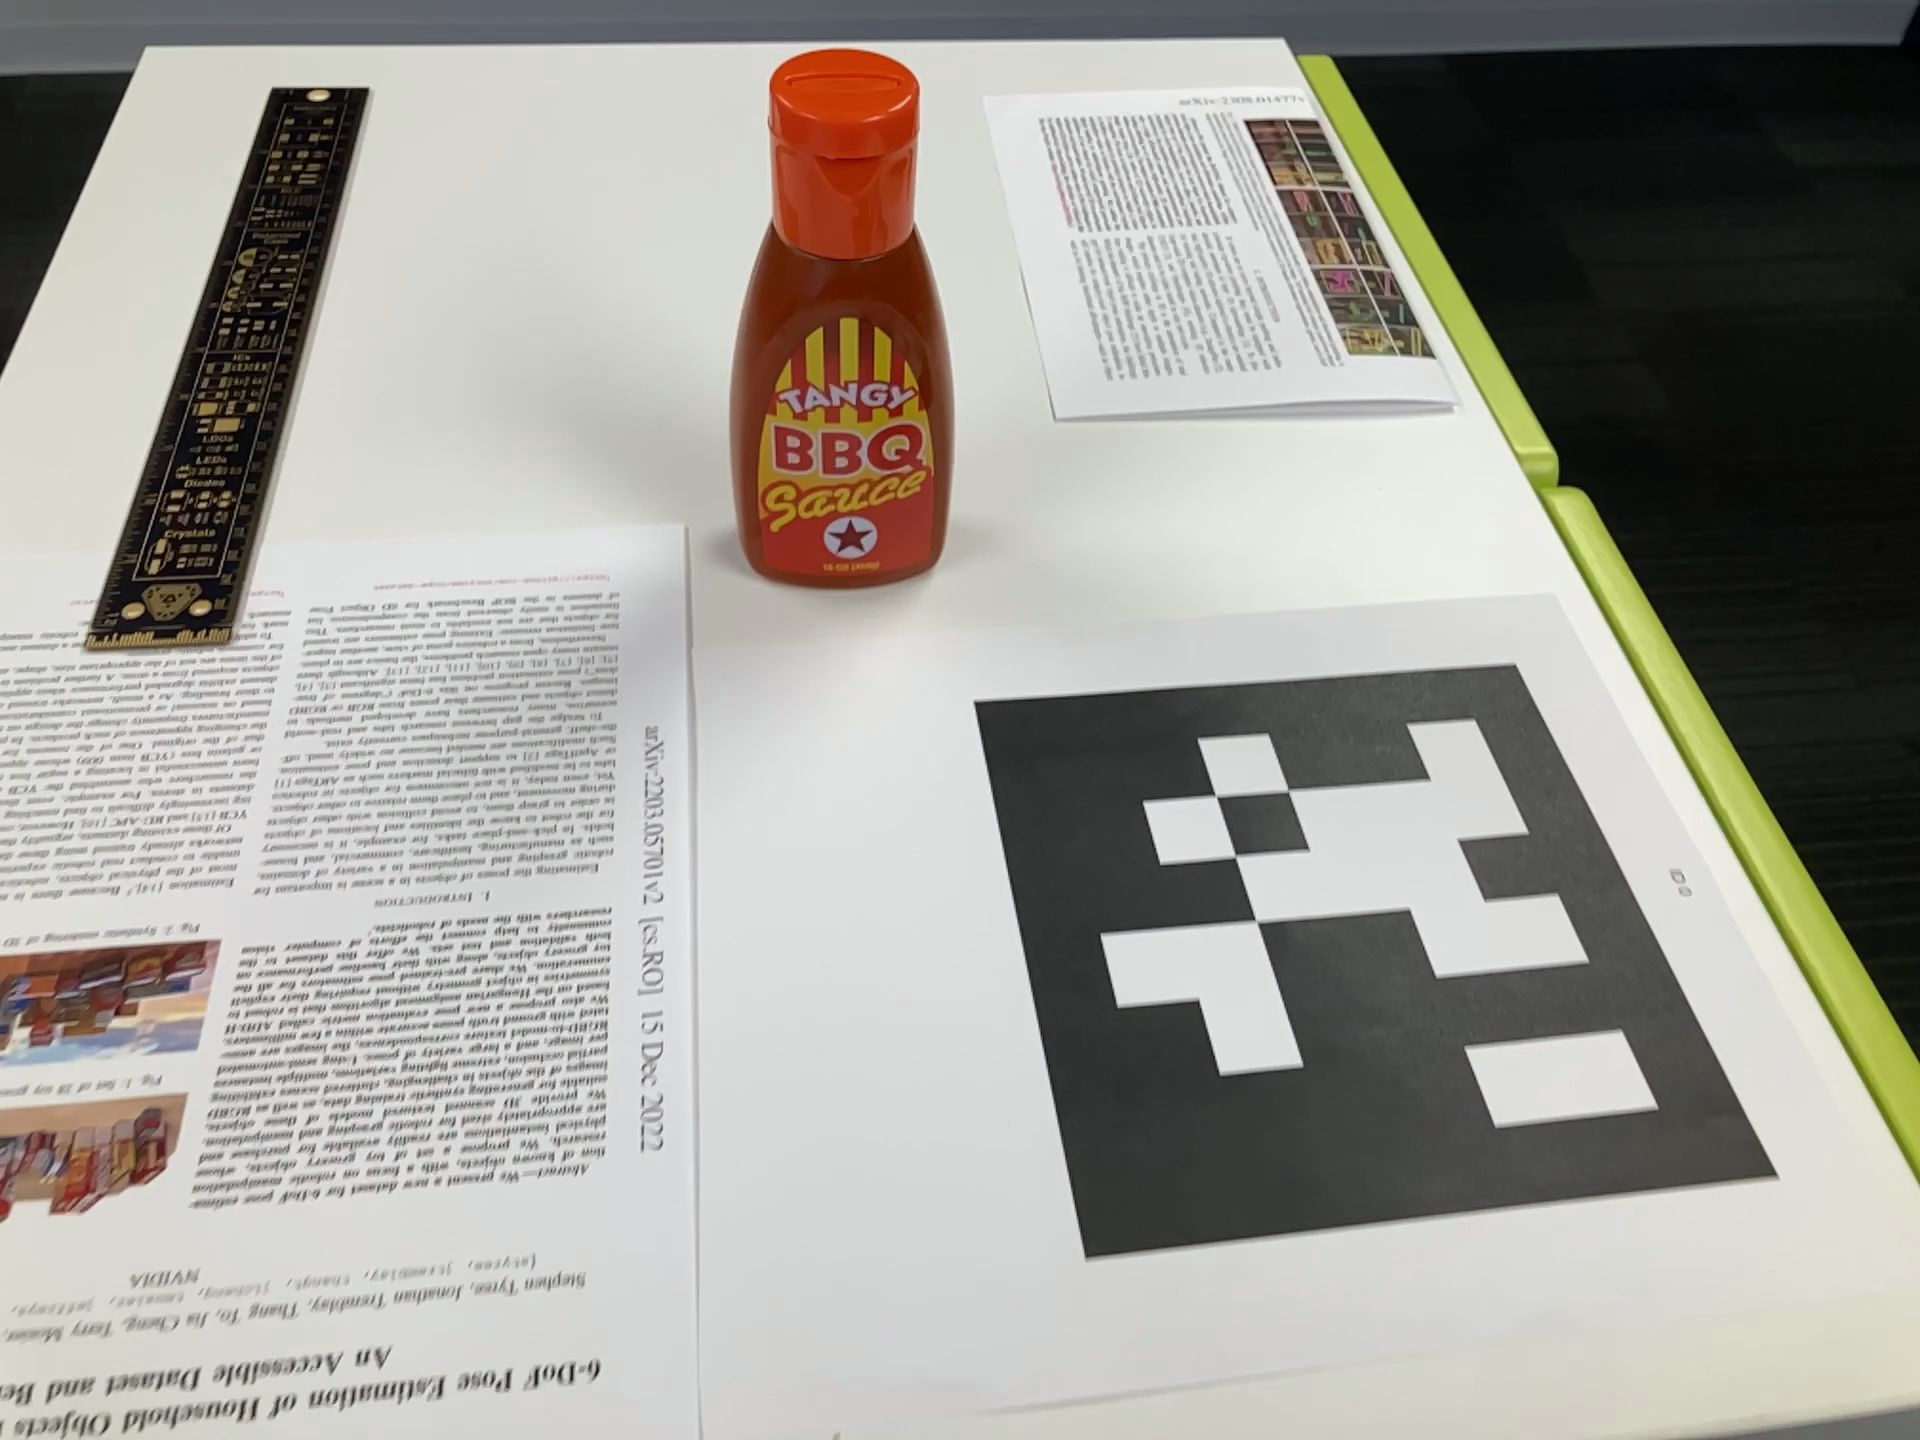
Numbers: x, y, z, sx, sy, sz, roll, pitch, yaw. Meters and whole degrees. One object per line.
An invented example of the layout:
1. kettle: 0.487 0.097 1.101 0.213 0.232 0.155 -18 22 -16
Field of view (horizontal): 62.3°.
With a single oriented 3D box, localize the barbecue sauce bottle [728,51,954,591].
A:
1. barbecue sauce bottle: -0.033 -0.103 0.435 0.065 0.148 0.043 -2 48 -7
